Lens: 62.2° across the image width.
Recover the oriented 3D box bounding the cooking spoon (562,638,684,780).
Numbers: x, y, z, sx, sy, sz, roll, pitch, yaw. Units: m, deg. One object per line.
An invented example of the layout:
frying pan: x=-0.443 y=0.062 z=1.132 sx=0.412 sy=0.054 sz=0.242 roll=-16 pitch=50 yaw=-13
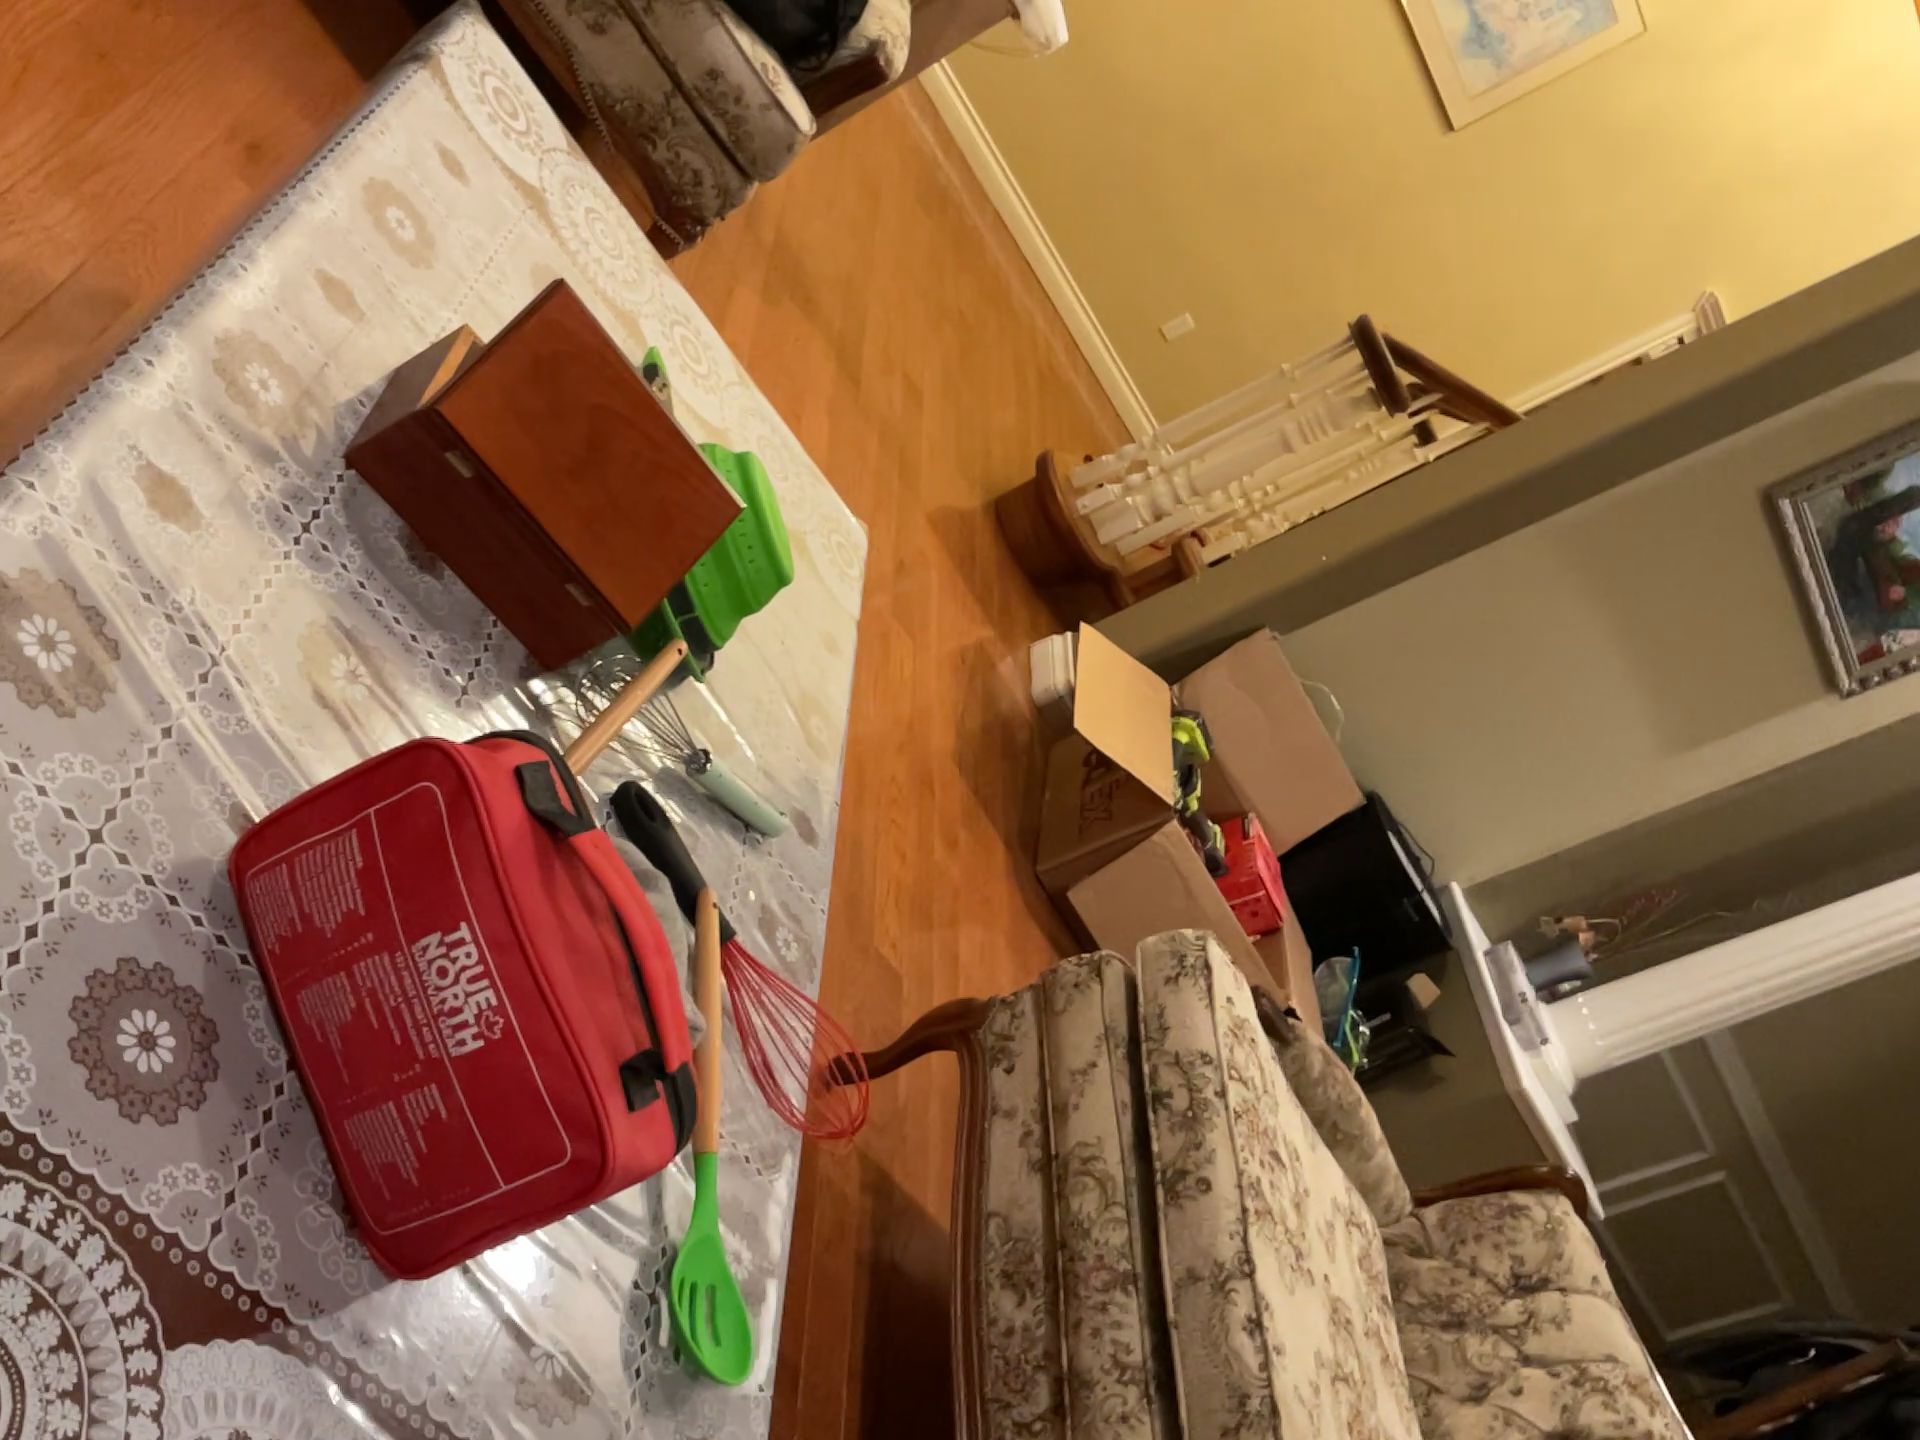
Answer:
cooking spoon: x=-0.243 y=0.030 z=0.990 sx=0.068 sy=0.017 sz=0.319 roll=59 pitch=30 yaw=-20

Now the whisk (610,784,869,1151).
whisk: x=-0.151 y=0.169 z=1.087 sx=0.296 sy=0.073 sz=0.073 roll=57 pitch=26 yaw=-2

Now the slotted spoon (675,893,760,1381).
slotted spoon: x=-0.155 y=0.246 z=0.982 sx=0.070 sy=0.031 sz=0.314 roll=42 pitch=31 yaw=-47

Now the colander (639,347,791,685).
colander: x=-0.204 y=-0.200 z=1.289 sx=0.398 sy=0.094 sz=0.204 roll=-106 pitch=180 yaw=-46

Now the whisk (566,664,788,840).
whisk: x=-0.200 y=0.031 z=1.162 sx=0.246 sy=0.059 sz=0.058 roll=45 pitch=69 yaw=-49
